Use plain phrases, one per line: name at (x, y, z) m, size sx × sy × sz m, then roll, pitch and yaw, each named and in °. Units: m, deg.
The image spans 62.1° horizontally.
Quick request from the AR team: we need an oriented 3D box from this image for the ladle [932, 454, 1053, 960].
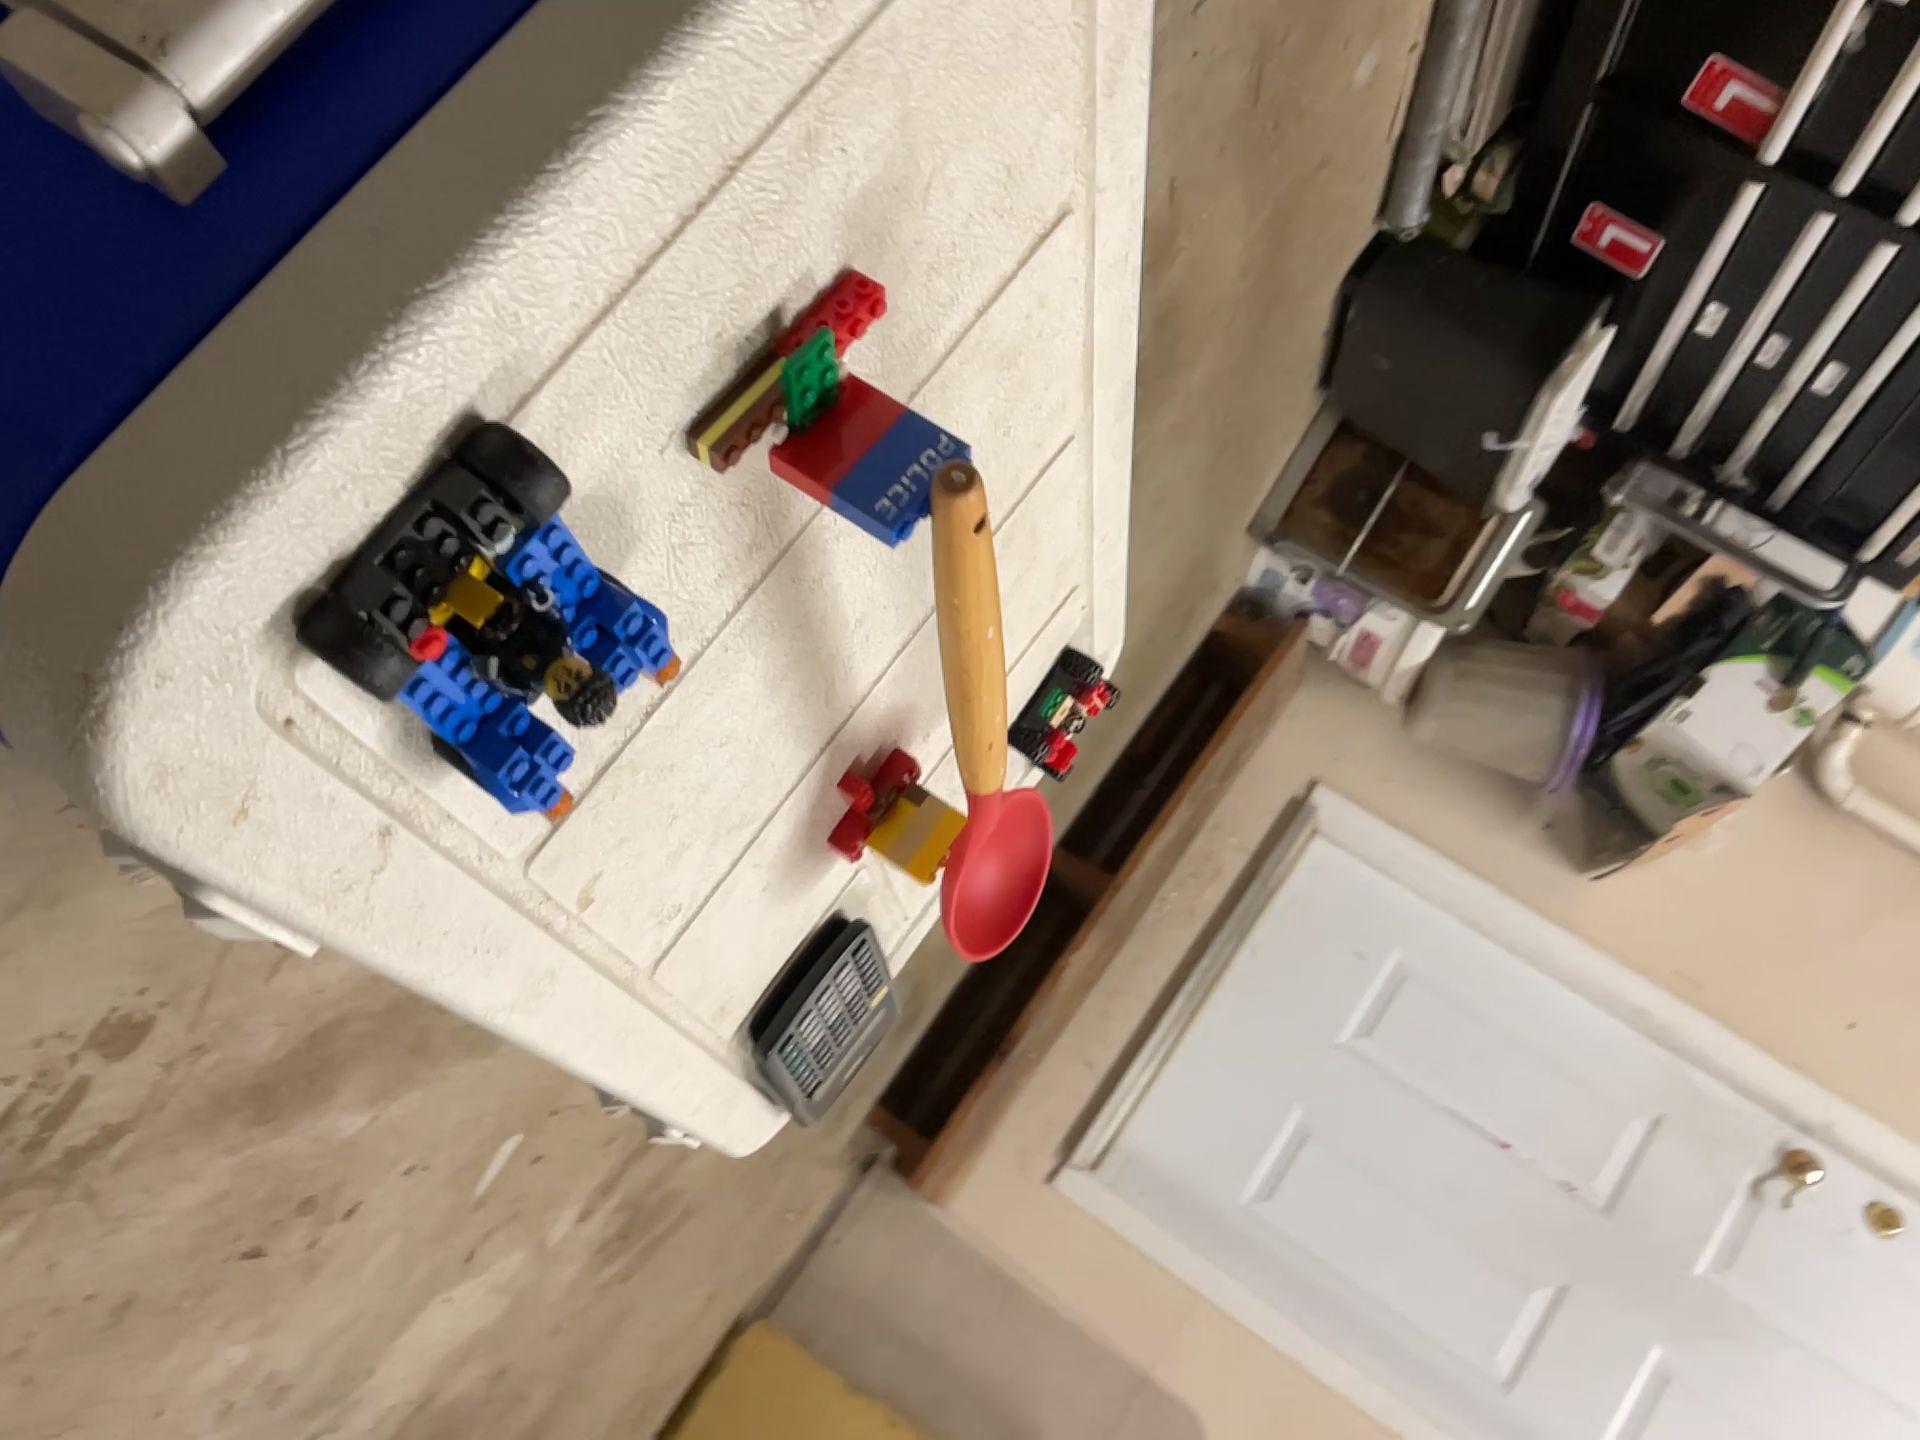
ladle at (0.007, 0.008, 0.509) m, size 0.069 × 0.031 × 0.315 m, roll -57°, pitch 165°, yaw -19°
